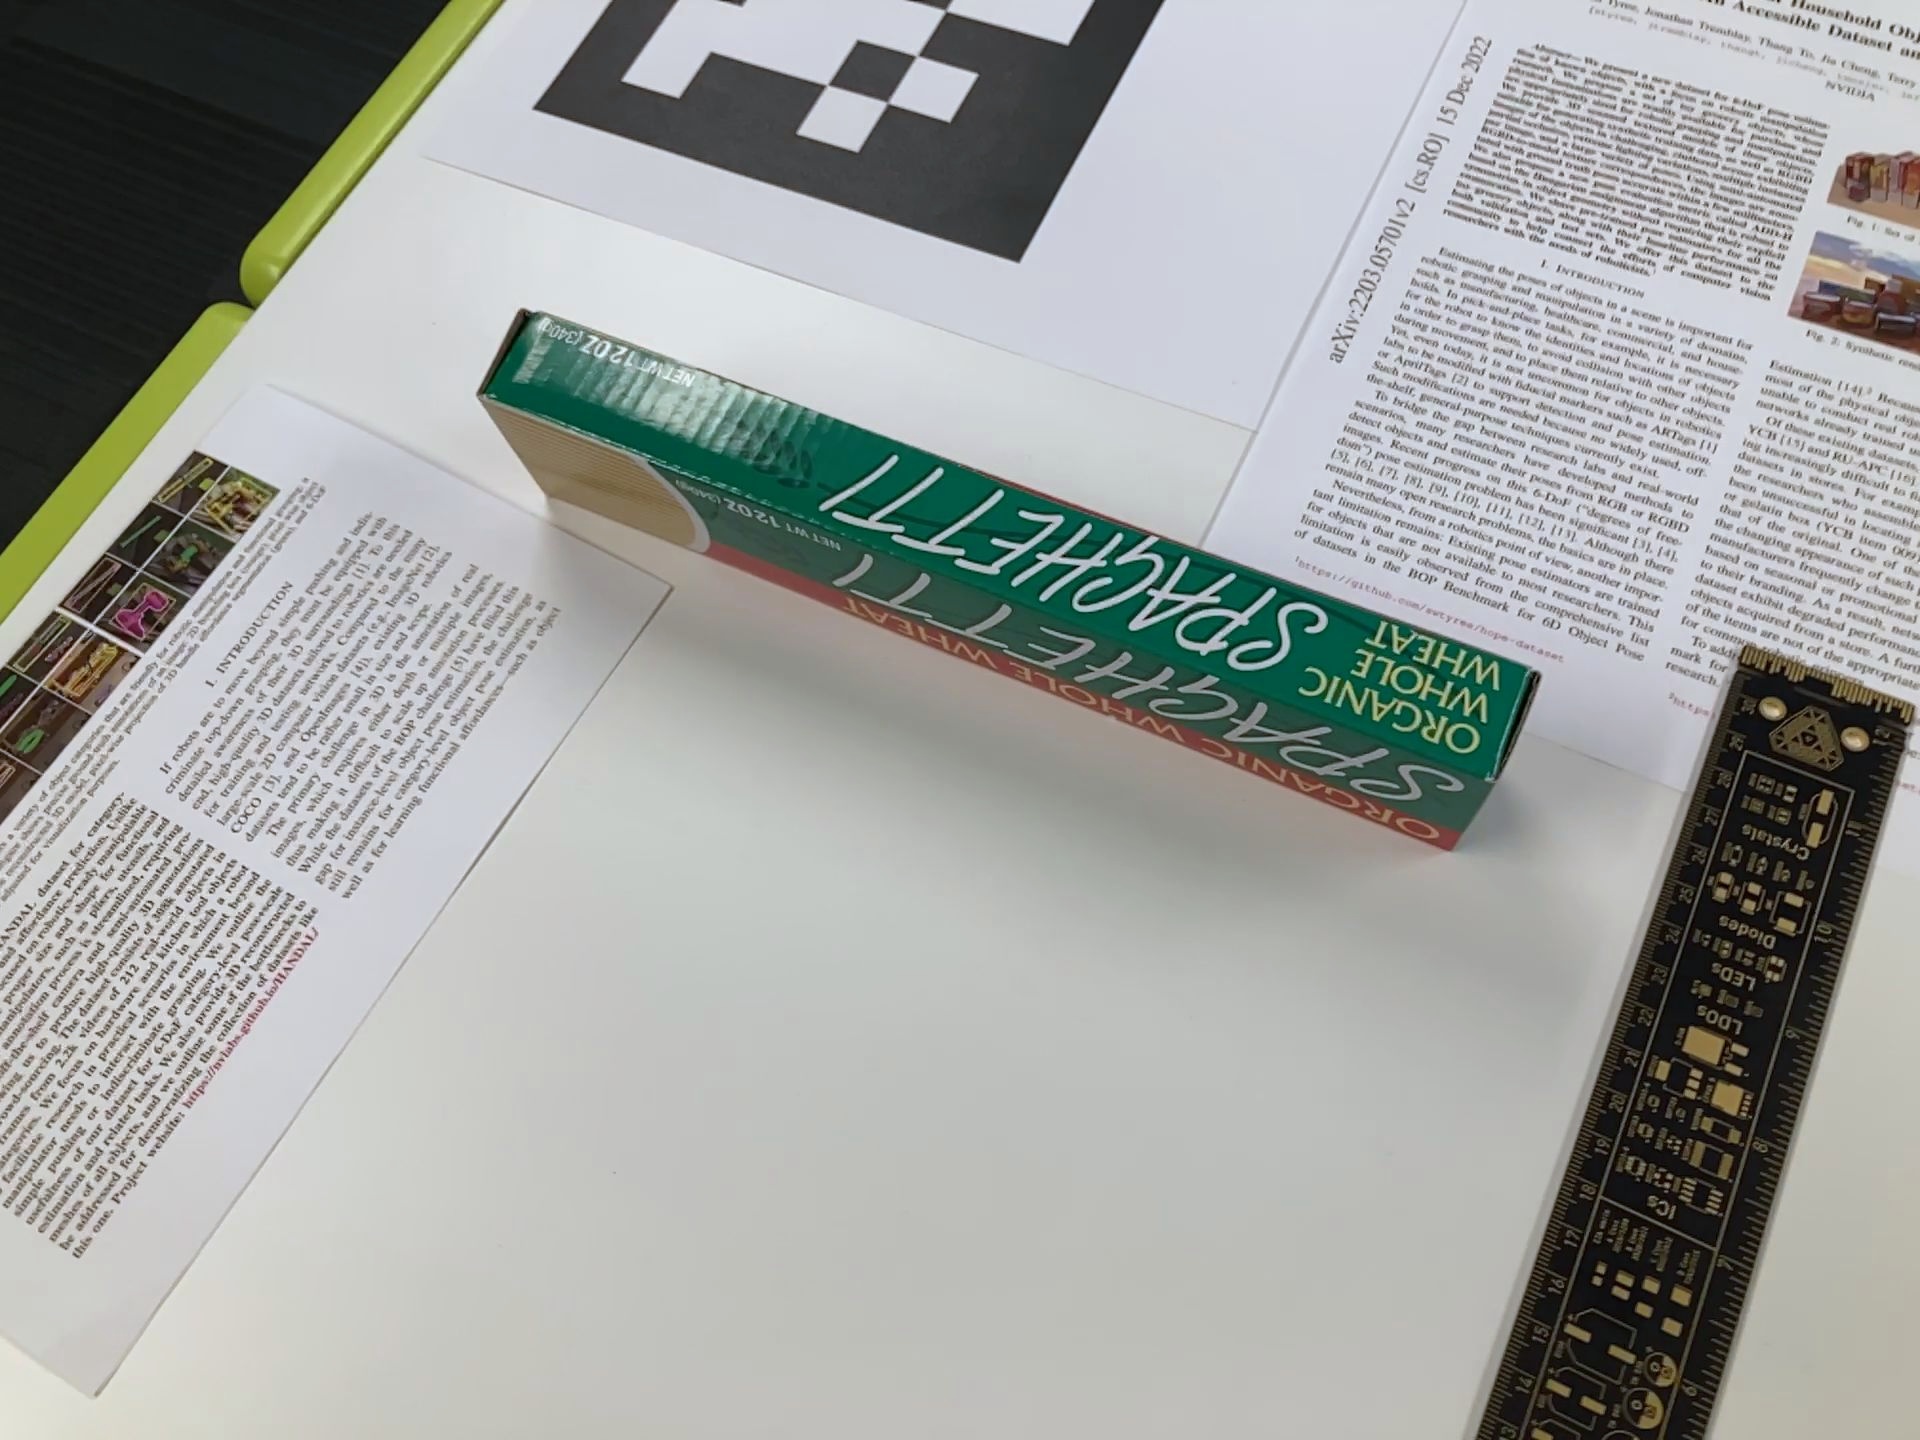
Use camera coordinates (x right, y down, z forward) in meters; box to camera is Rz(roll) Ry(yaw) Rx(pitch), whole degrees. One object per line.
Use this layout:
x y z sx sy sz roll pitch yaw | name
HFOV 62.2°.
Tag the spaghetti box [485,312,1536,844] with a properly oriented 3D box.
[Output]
0.005 -0.035 0.374 0.250 0.050 0.028 22 73 14 | spaghetti box
